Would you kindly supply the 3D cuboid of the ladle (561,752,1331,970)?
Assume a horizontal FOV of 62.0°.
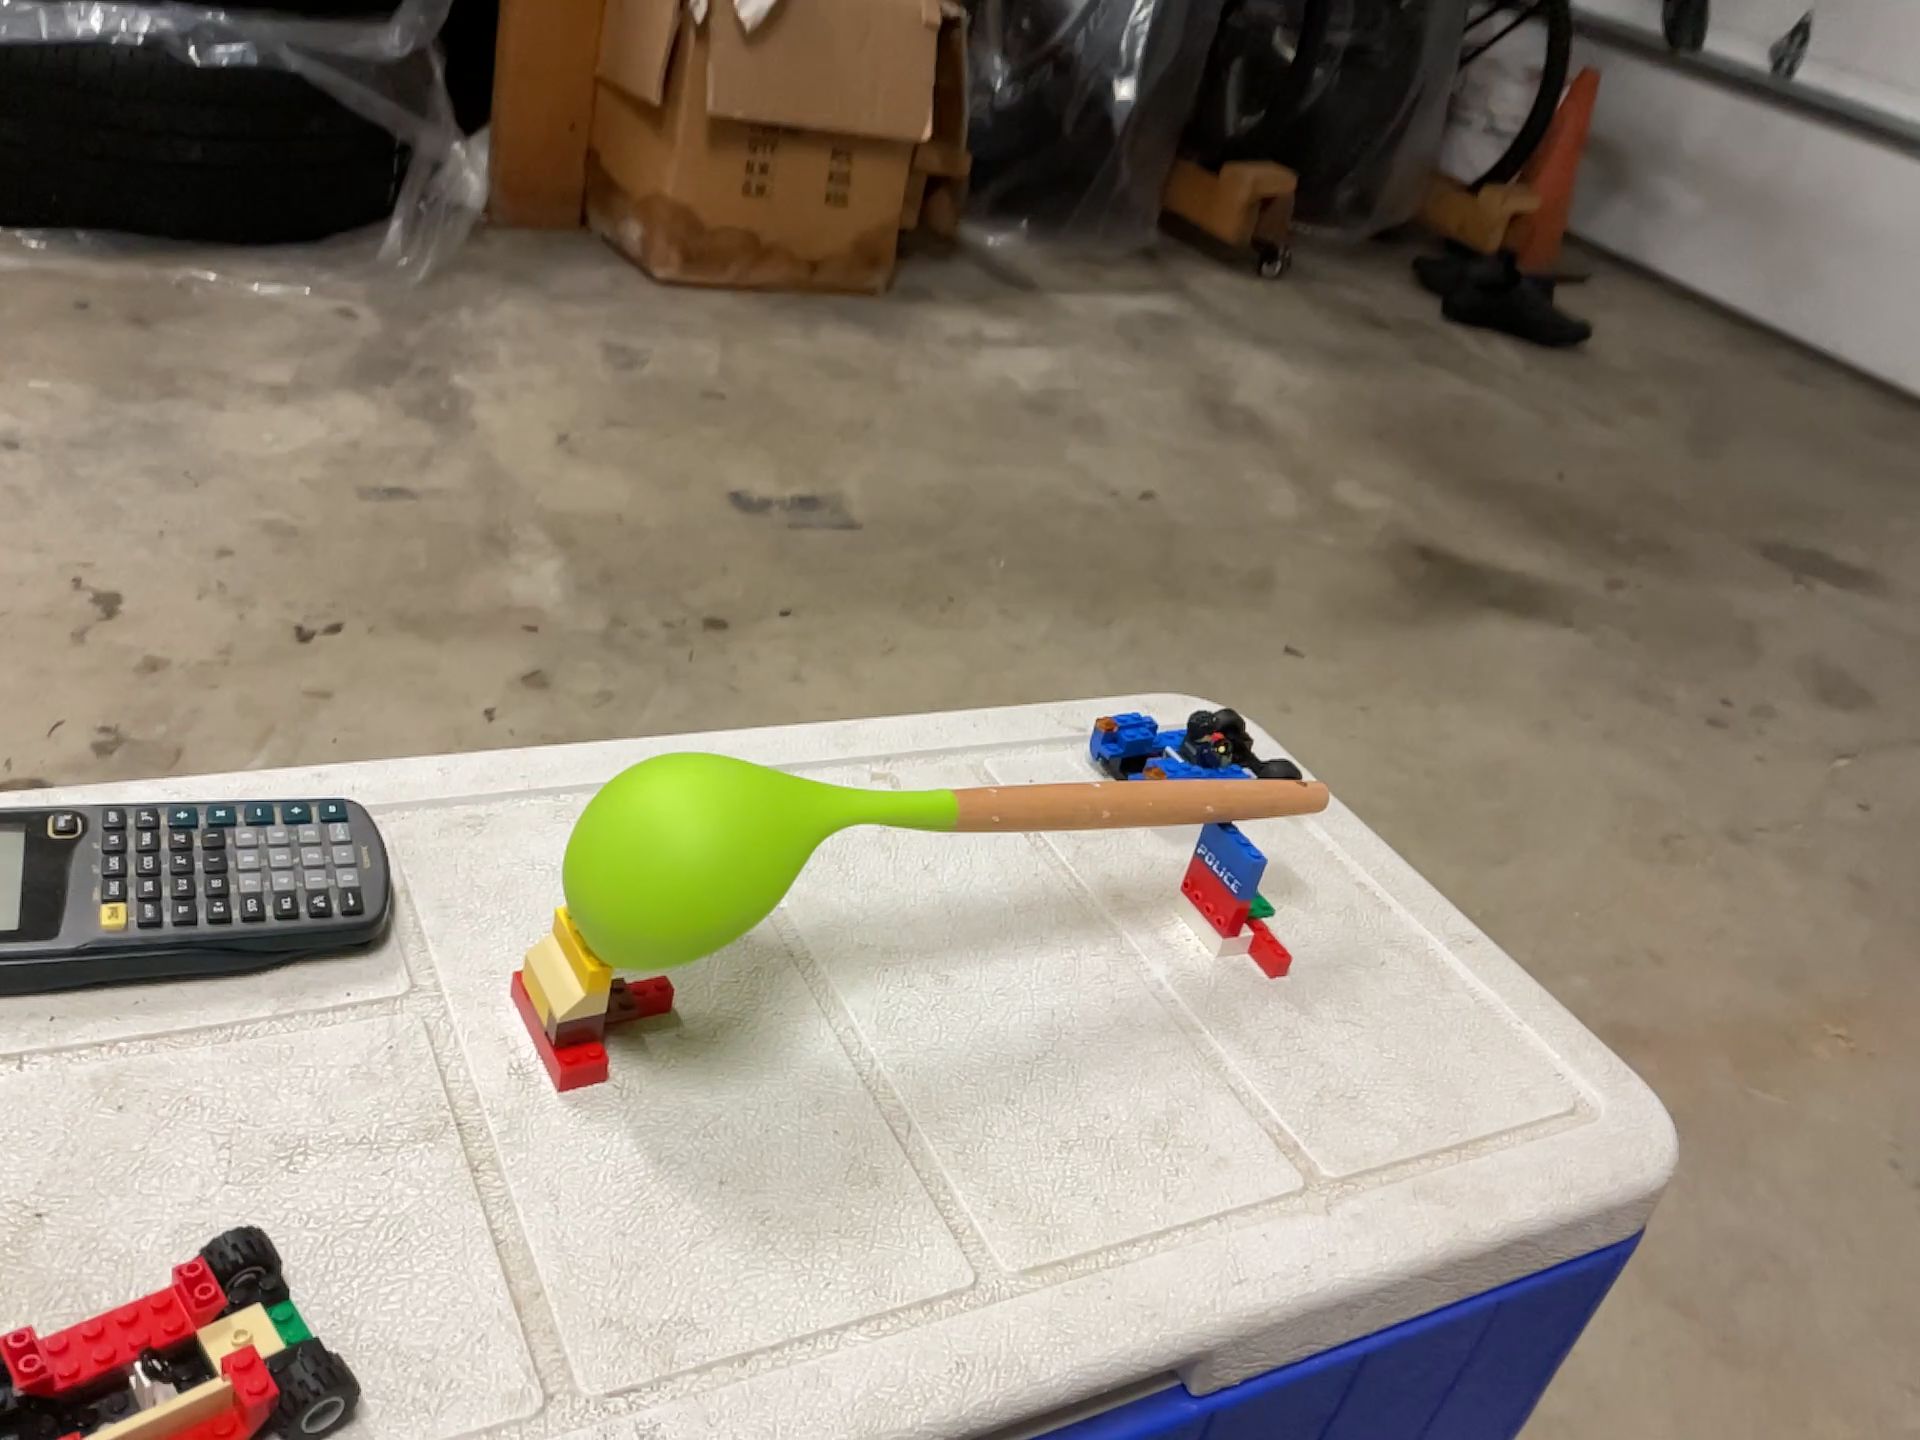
[{"bbox_3d":[0.014,0.043,0.578,0.320,0.062,0.078,1,27,-34],"label":"ladle"}]
